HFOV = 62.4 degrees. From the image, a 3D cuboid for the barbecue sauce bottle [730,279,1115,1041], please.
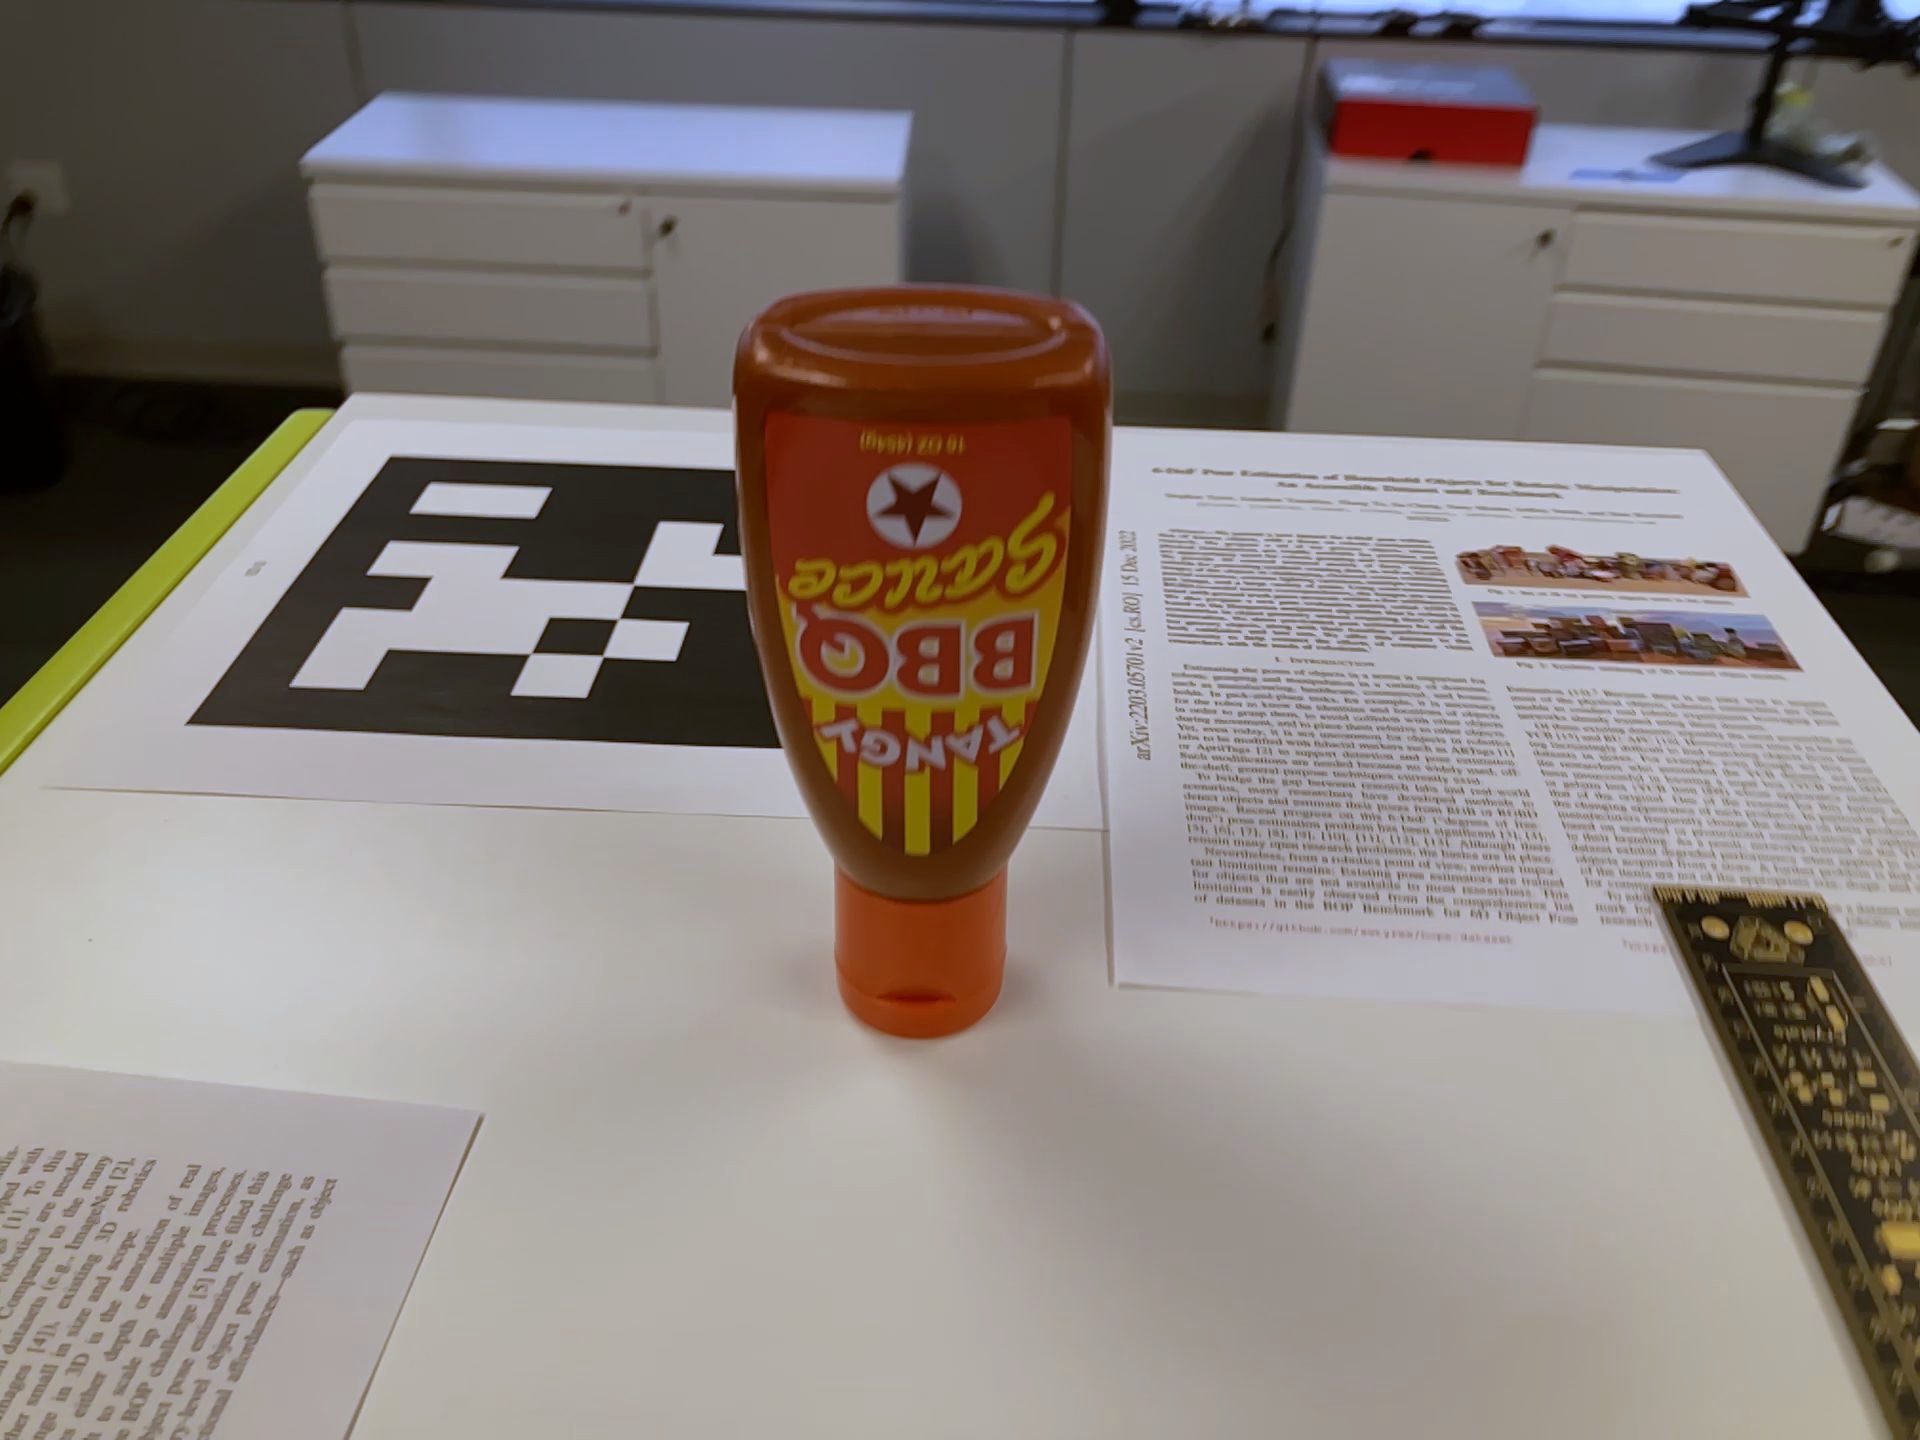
[{"bbox_3d":[-0.007,-0.005,0.299,0.065,0.148,0.043,2,35,1],"label":"barbecue sauce bottle"}]
